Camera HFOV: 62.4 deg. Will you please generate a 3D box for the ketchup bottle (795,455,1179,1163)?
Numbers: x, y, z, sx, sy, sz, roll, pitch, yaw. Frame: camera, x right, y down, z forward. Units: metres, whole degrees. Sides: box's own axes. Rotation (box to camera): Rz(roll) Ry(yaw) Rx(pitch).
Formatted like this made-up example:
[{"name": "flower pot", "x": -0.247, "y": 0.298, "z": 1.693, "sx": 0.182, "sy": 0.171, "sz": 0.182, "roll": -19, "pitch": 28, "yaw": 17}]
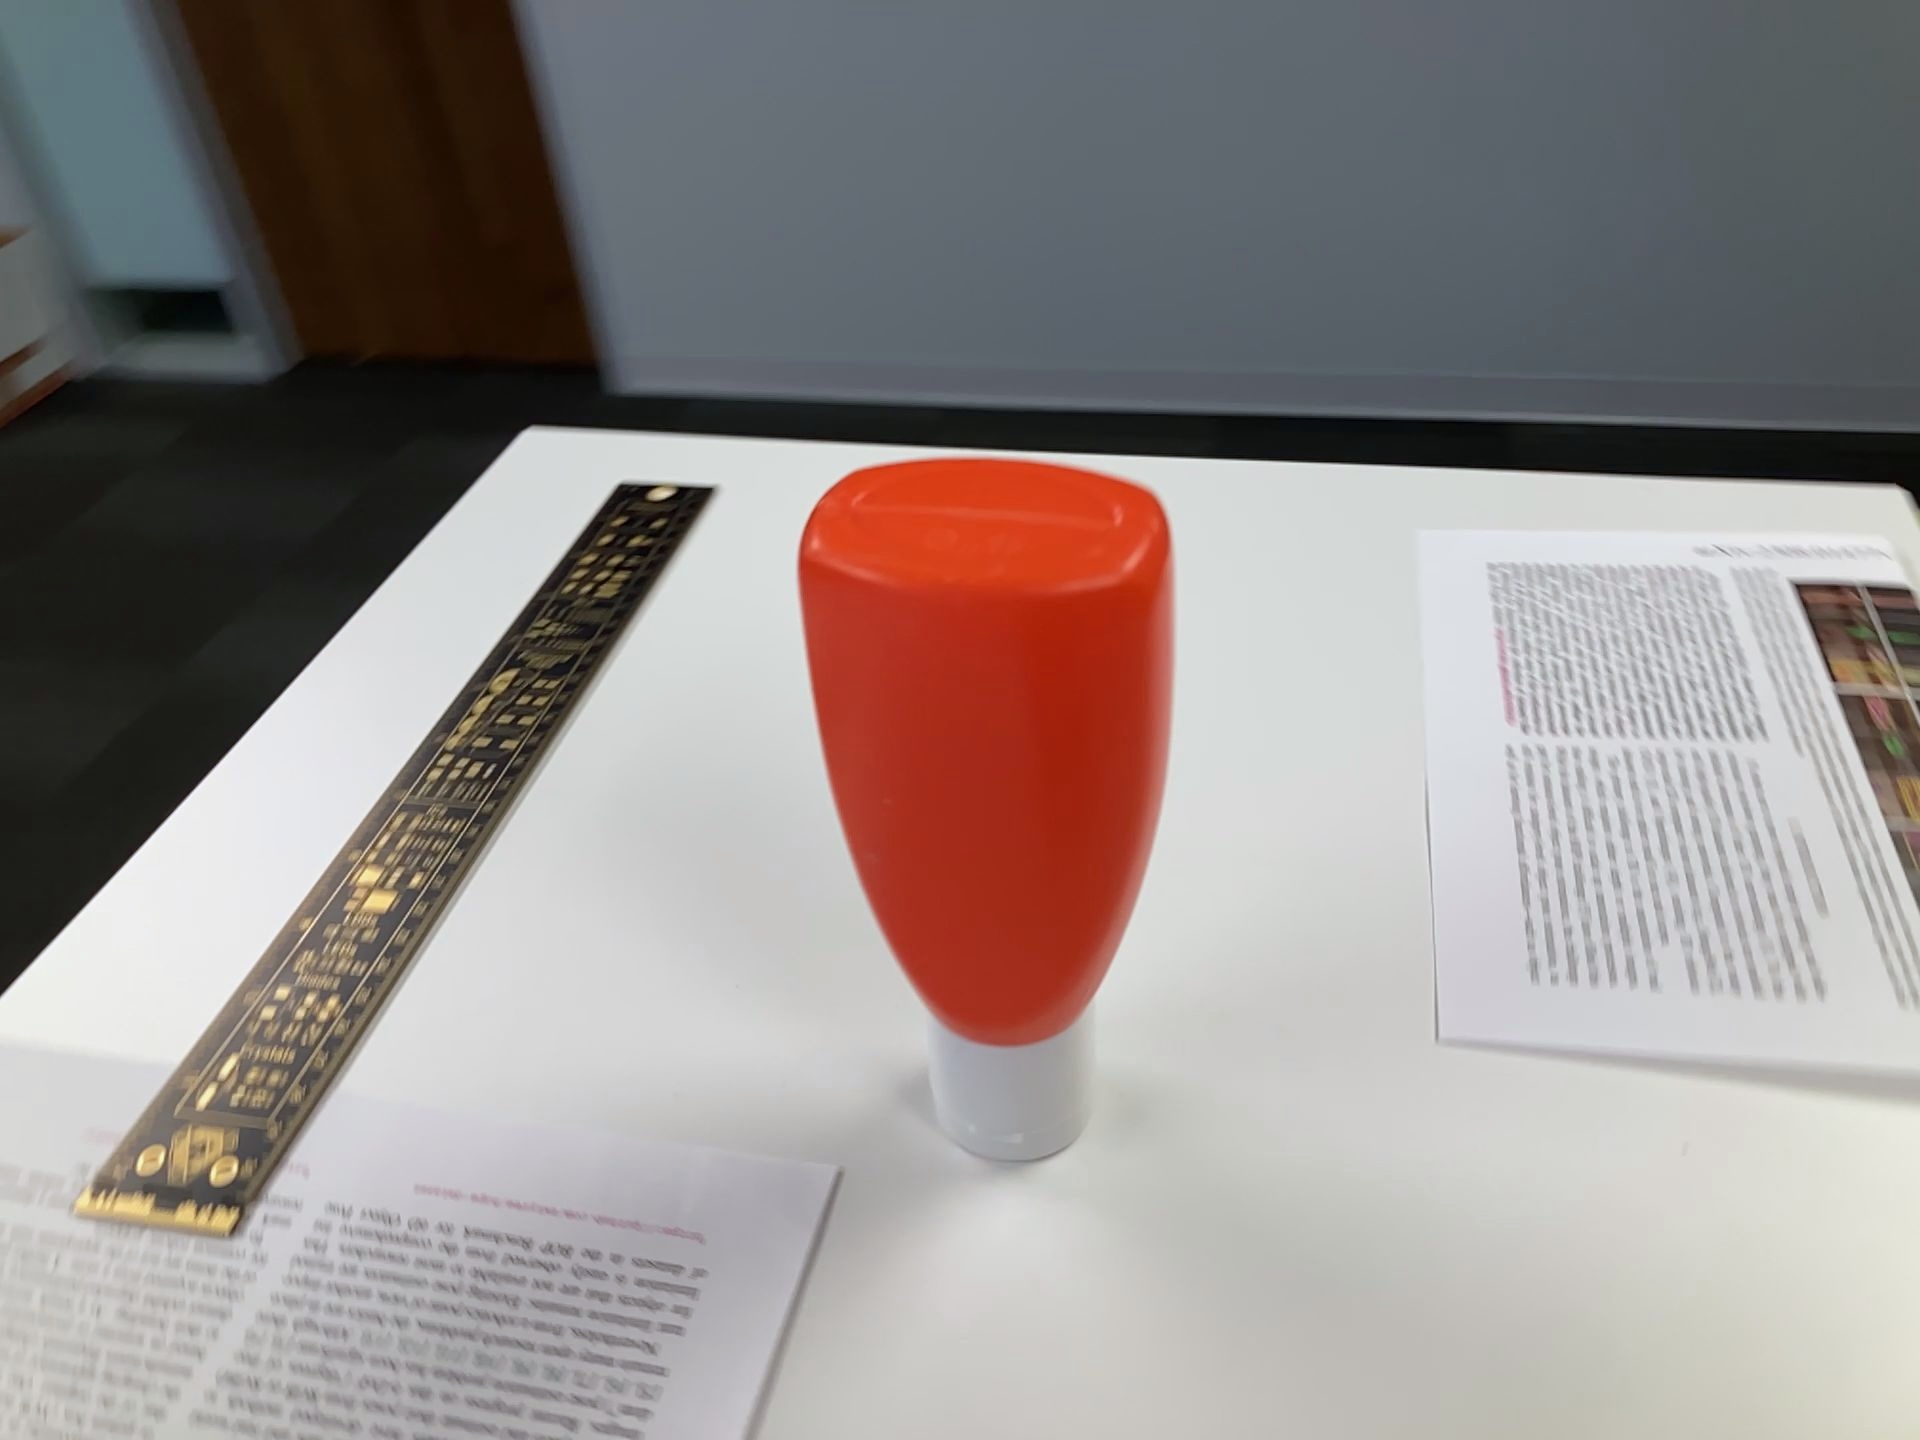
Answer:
[{"name": "ketchup bottle", "x": 0.008, "y": 0.025, "z": 0.302, "sx": 0.065, "sy": 0.149, "sz": 0.043, "roll": 6, "pitch": 38, "yaw": 12}]
